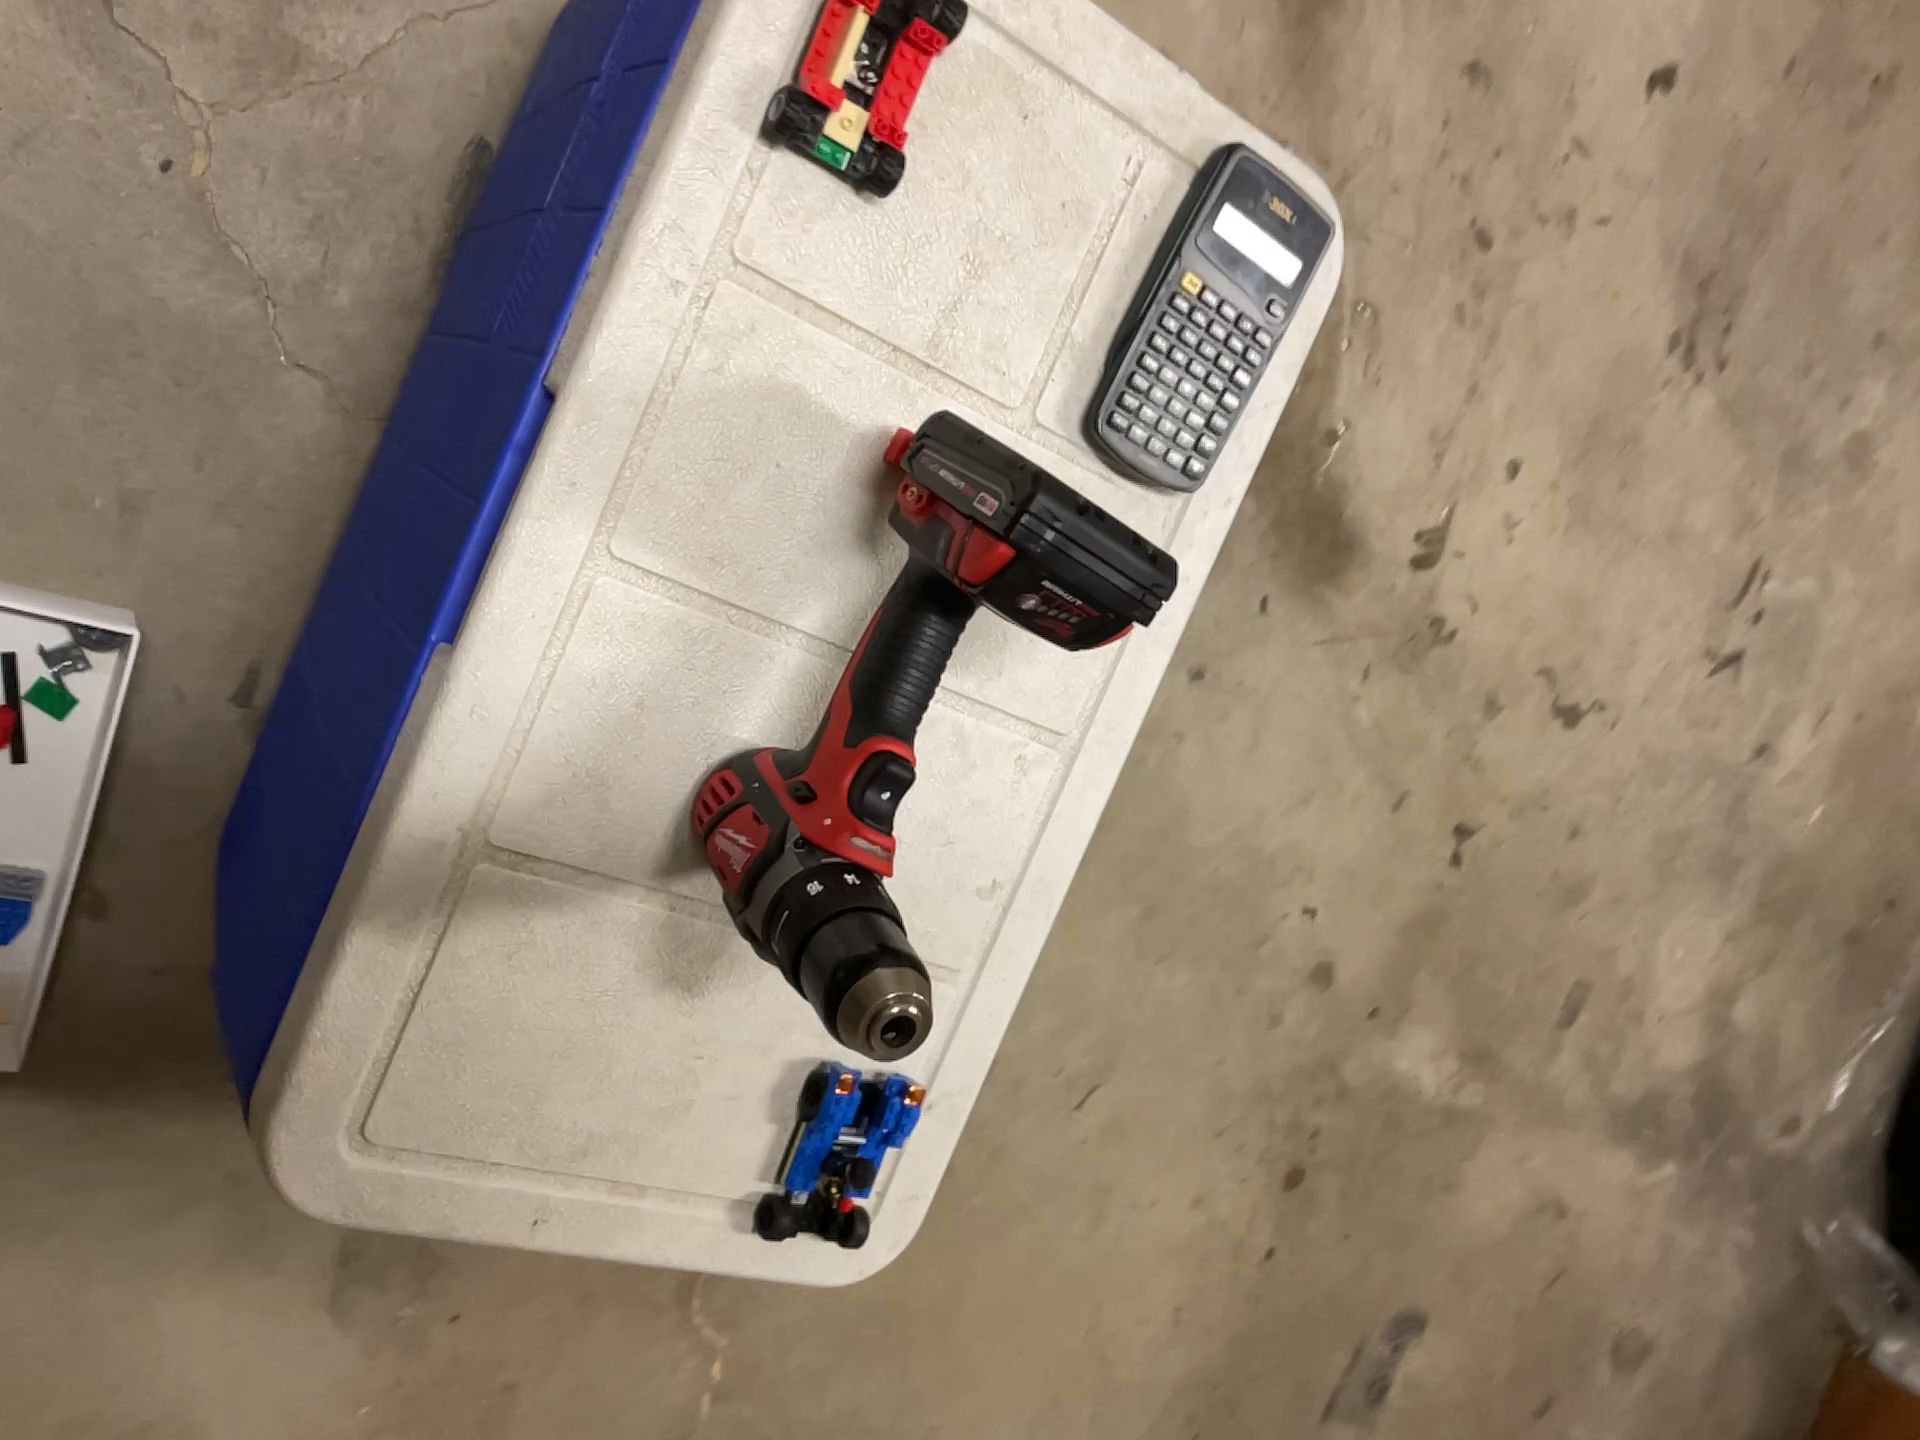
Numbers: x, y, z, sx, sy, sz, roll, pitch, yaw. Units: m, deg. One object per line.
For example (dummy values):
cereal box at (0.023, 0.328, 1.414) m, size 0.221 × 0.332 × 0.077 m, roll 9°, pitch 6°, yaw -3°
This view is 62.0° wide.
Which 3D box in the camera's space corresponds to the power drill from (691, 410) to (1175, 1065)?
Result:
power drill at (-0.015, 0.007, 0.629) m, size 0.080 × 0.188 × 0.226 m, roll 28°, pitch 99°, yaw -33°
